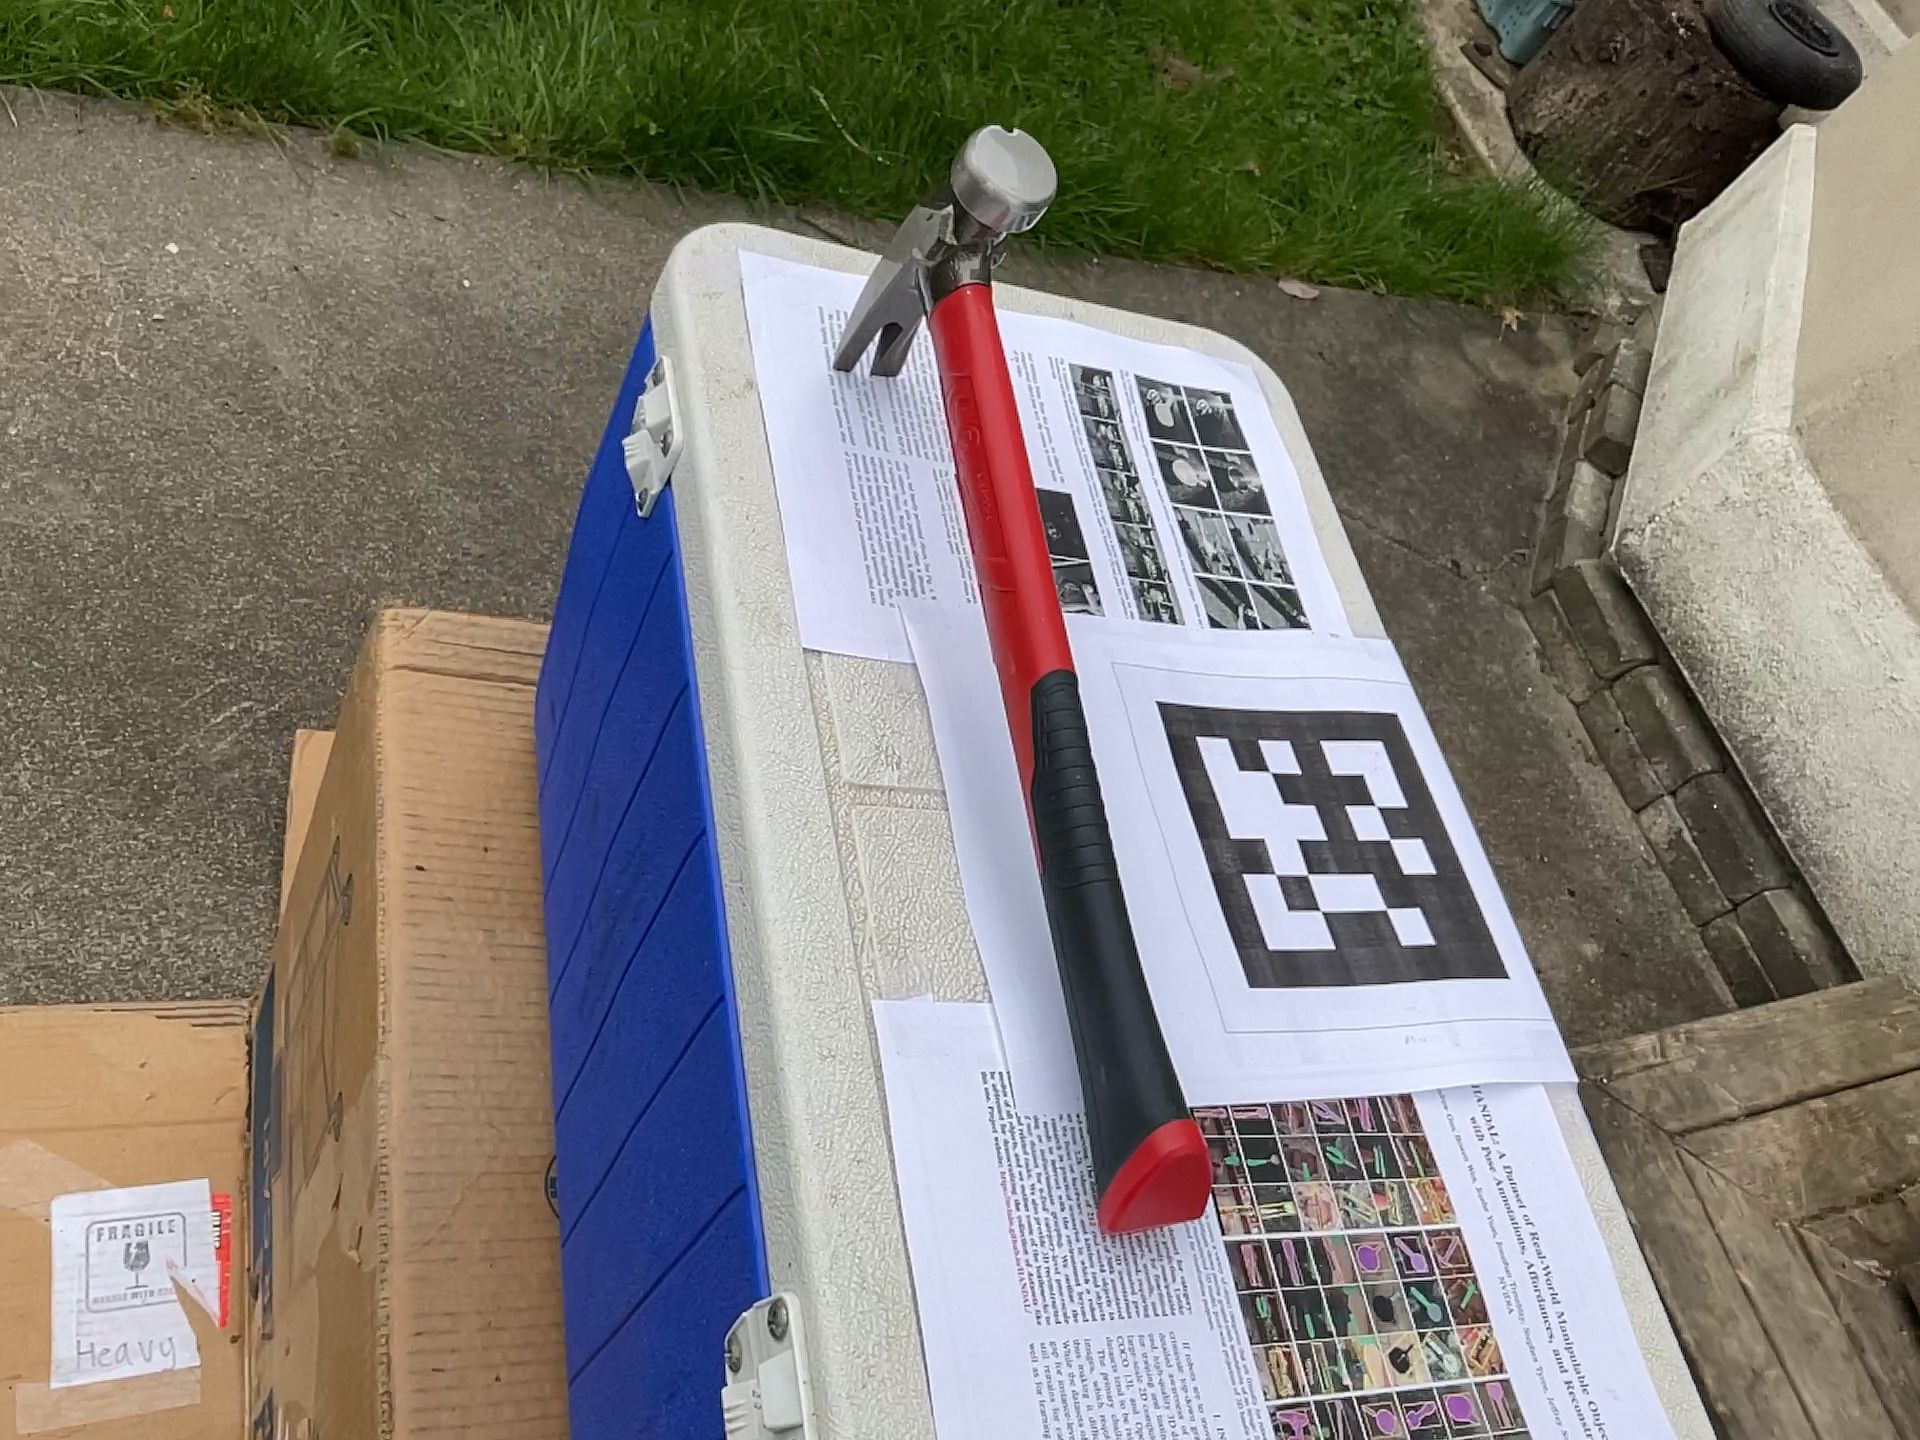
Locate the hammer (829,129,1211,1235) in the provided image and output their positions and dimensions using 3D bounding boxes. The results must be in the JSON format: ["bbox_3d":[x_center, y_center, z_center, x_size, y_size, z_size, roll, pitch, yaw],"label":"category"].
[{"bbox_3d":[0.019,-0.013,0.582,0.038,0.143,0.386,0,68,-28],"label":"hammer"}]
